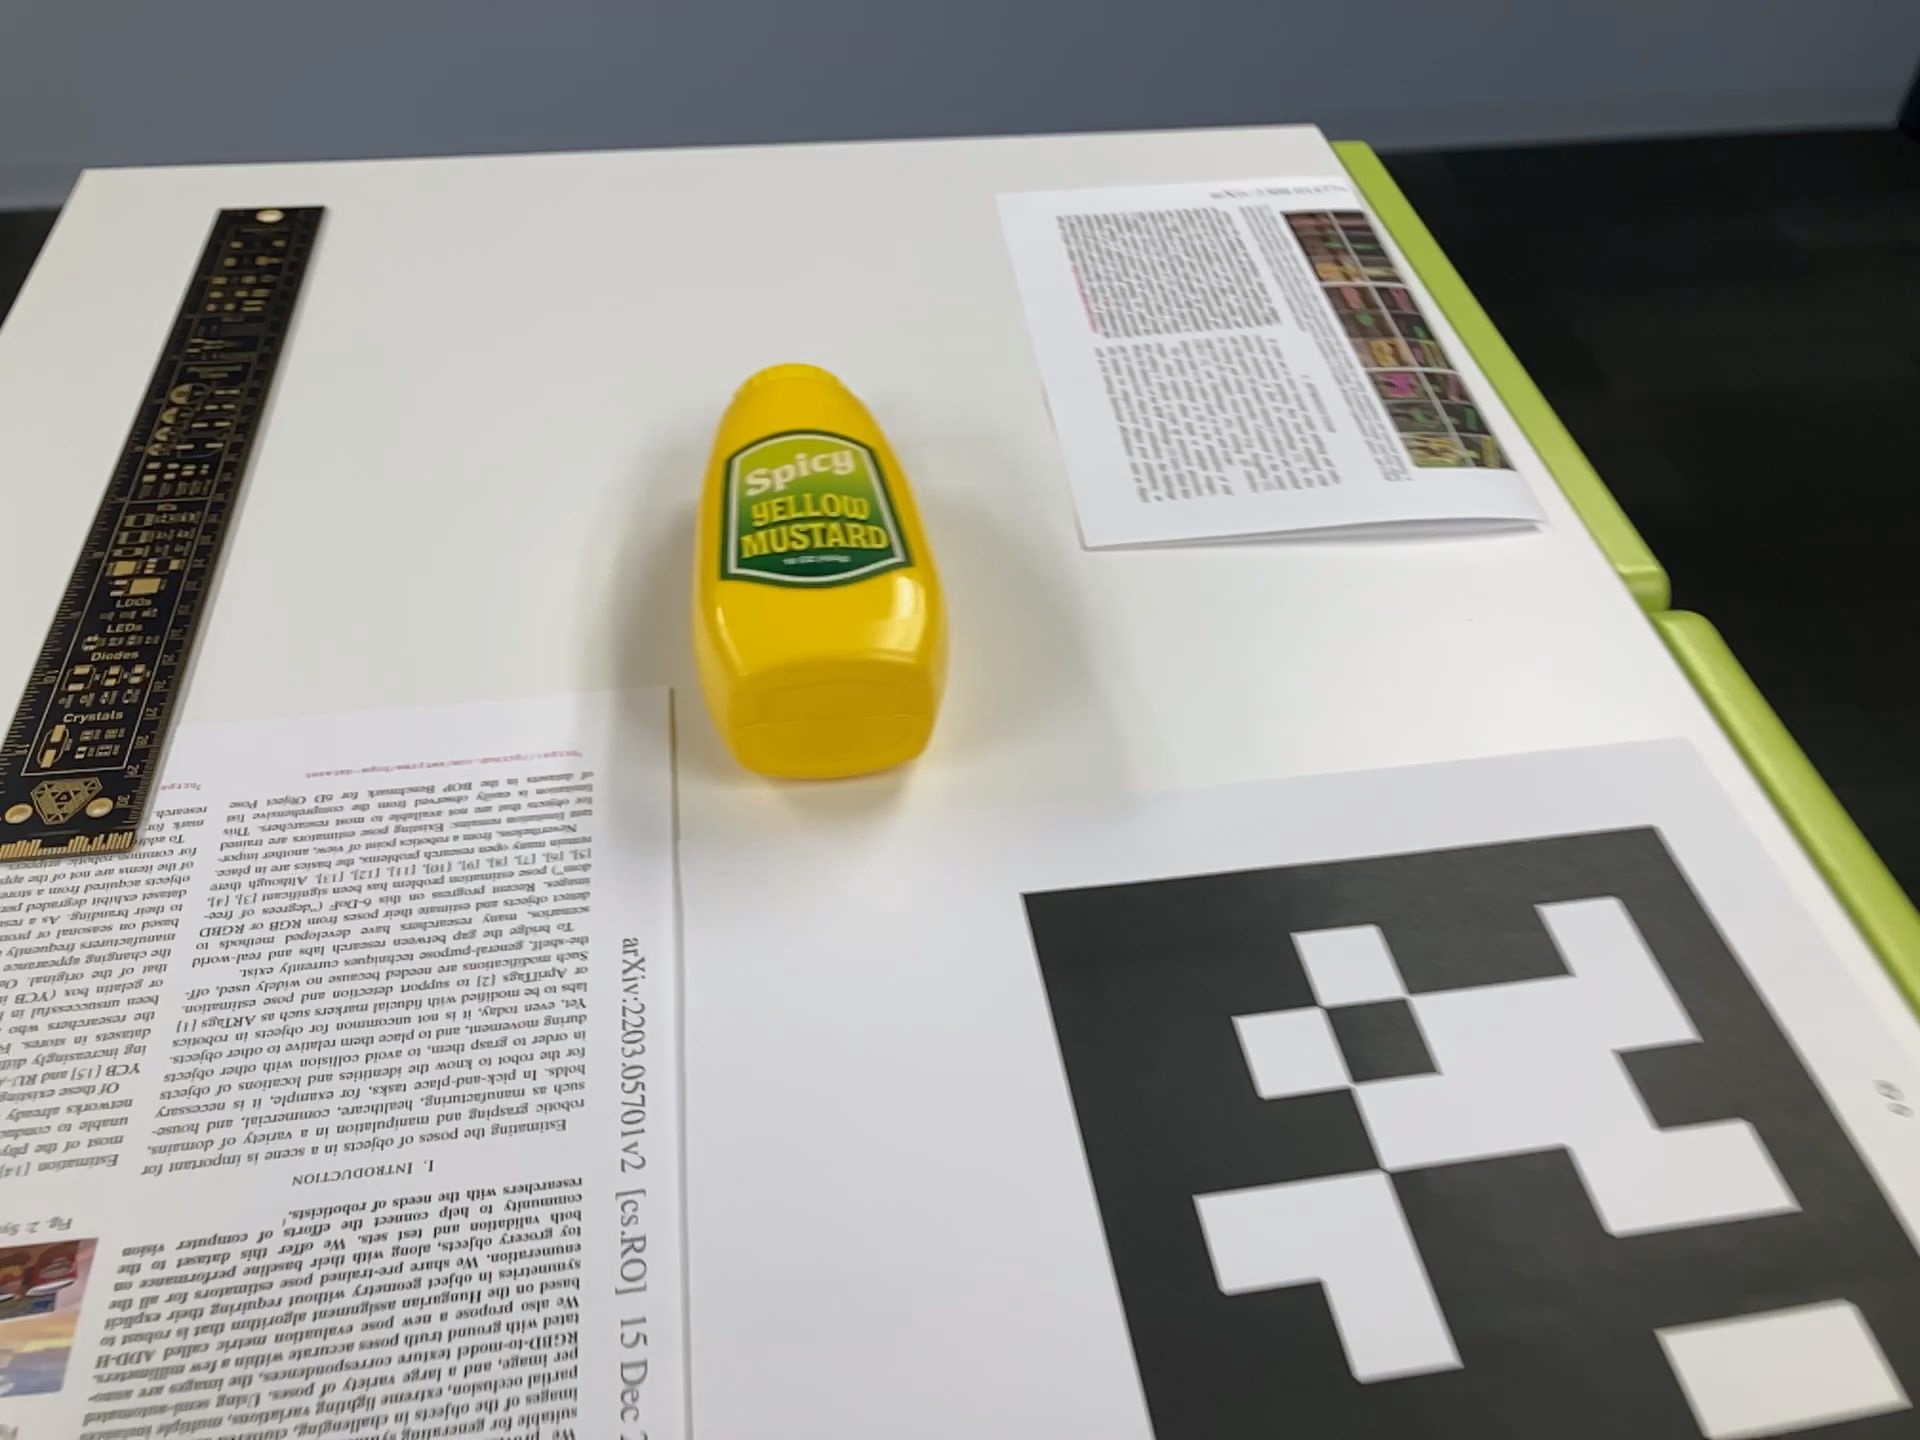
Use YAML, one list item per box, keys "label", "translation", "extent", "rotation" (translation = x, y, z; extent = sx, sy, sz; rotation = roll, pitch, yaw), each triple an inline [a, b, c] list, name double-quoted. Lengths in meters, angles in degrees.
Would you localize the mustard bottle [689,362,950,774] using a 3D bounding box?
- label: "mustard bottle"
  translation: [-0.043, -0.056, 0.435]
  extent: [0.065, 0.049, 0.160]
  rotation: [-5, 45, -9]
